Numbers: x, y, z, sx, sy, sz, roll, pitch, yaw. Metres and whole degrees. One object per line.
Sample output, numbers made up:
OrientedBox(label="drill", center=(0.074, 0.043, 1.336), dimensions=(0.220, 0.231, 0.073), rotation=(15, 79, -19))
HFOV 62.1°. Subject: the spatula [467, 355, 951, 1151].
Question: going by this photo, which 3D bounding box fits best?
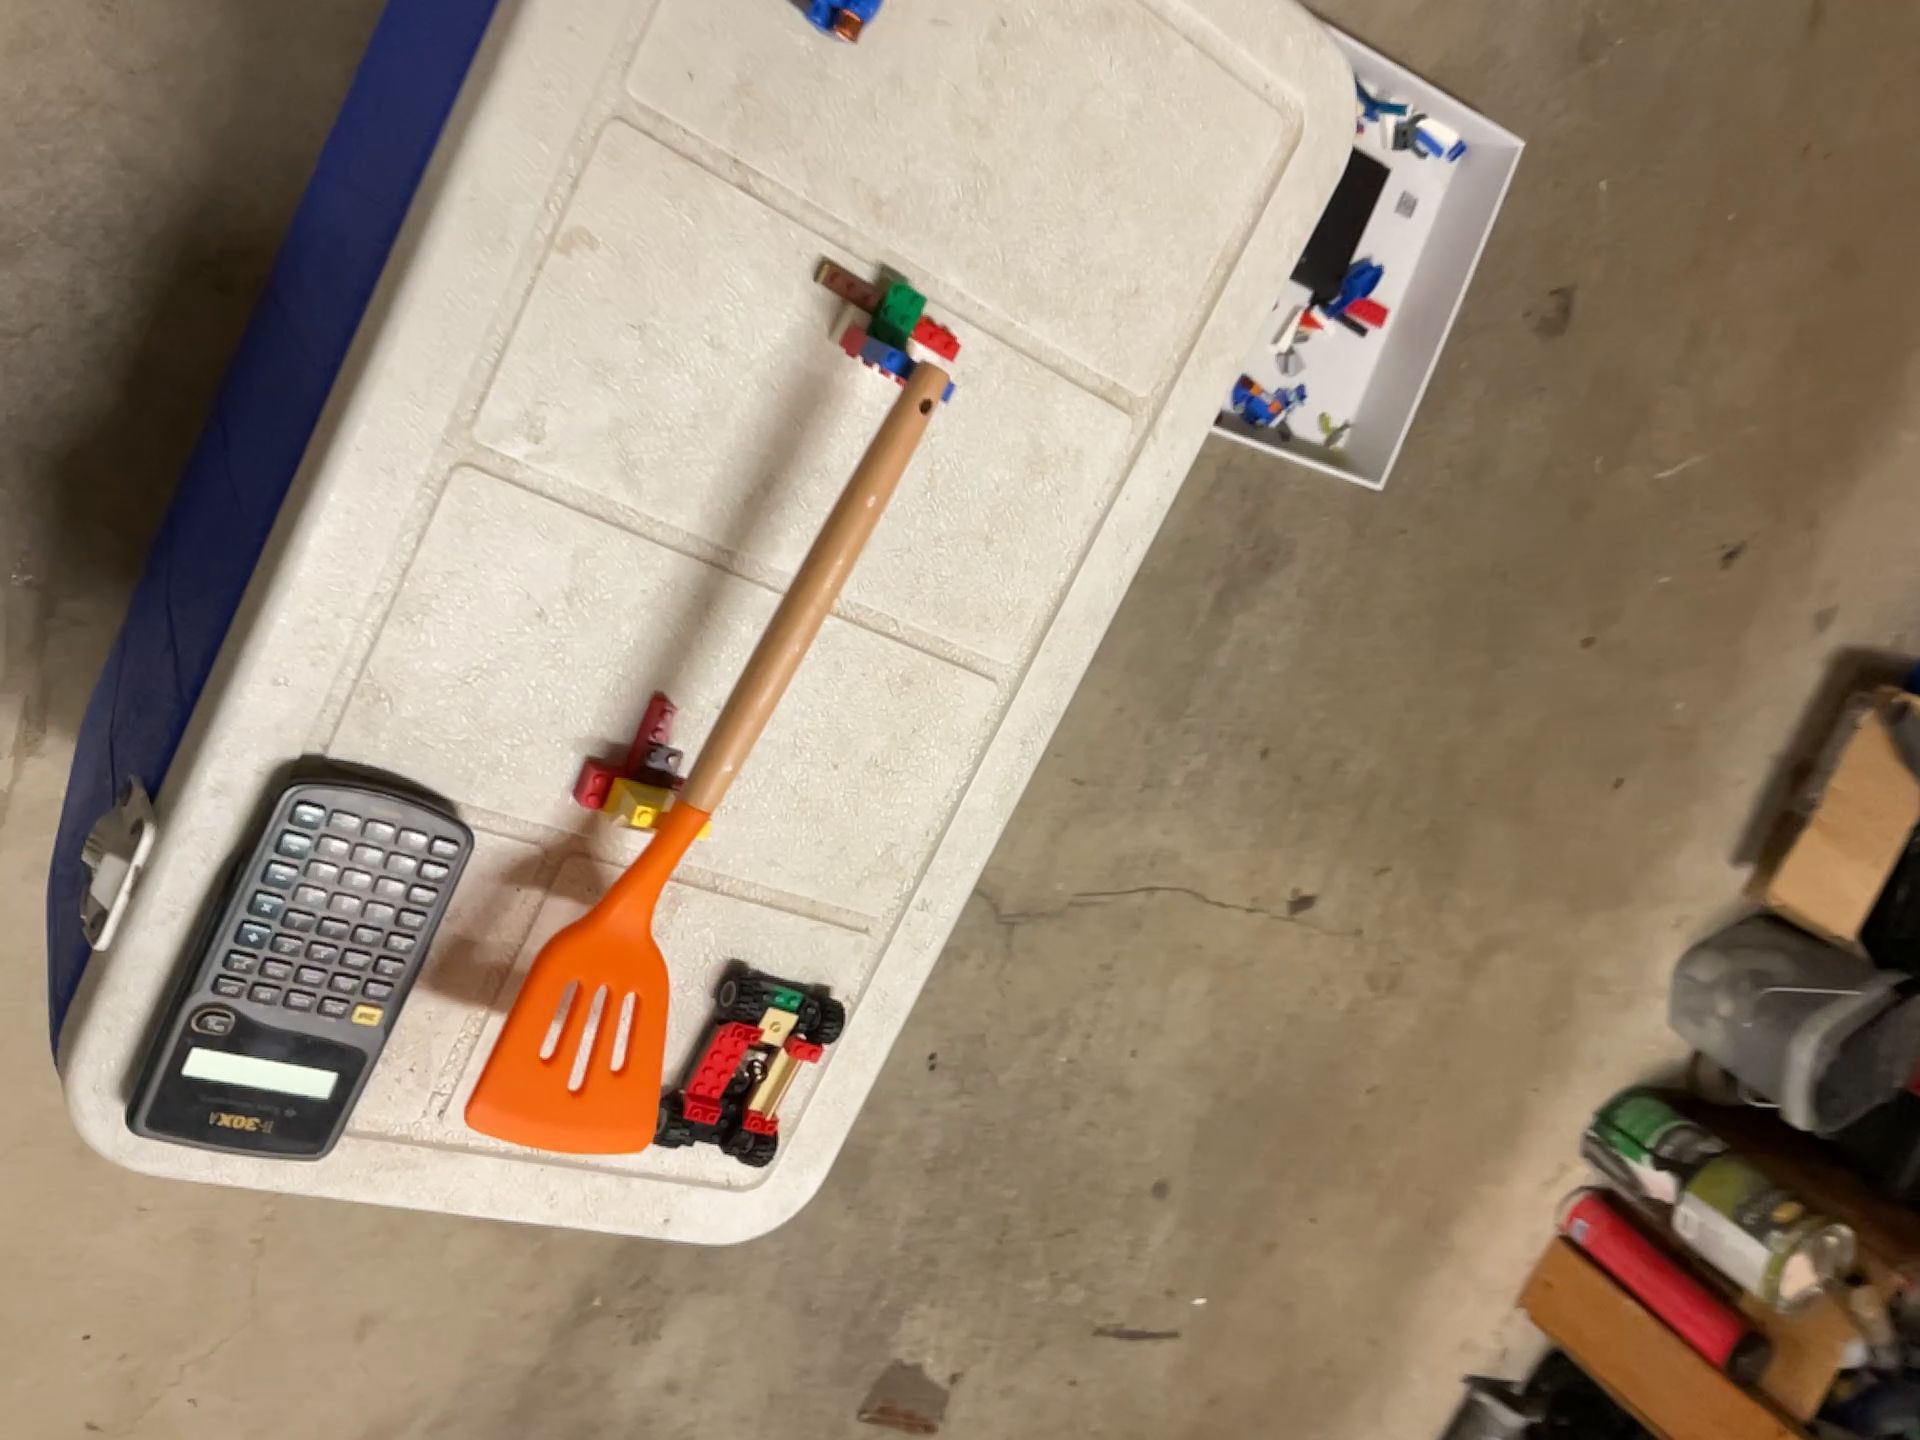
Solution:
OrientedBox(label="spatula", center=(-0.083, 0.013, 0.592), dimensions=(0.081, 0.041, 0.322), rotation=(23, 100, -39))
